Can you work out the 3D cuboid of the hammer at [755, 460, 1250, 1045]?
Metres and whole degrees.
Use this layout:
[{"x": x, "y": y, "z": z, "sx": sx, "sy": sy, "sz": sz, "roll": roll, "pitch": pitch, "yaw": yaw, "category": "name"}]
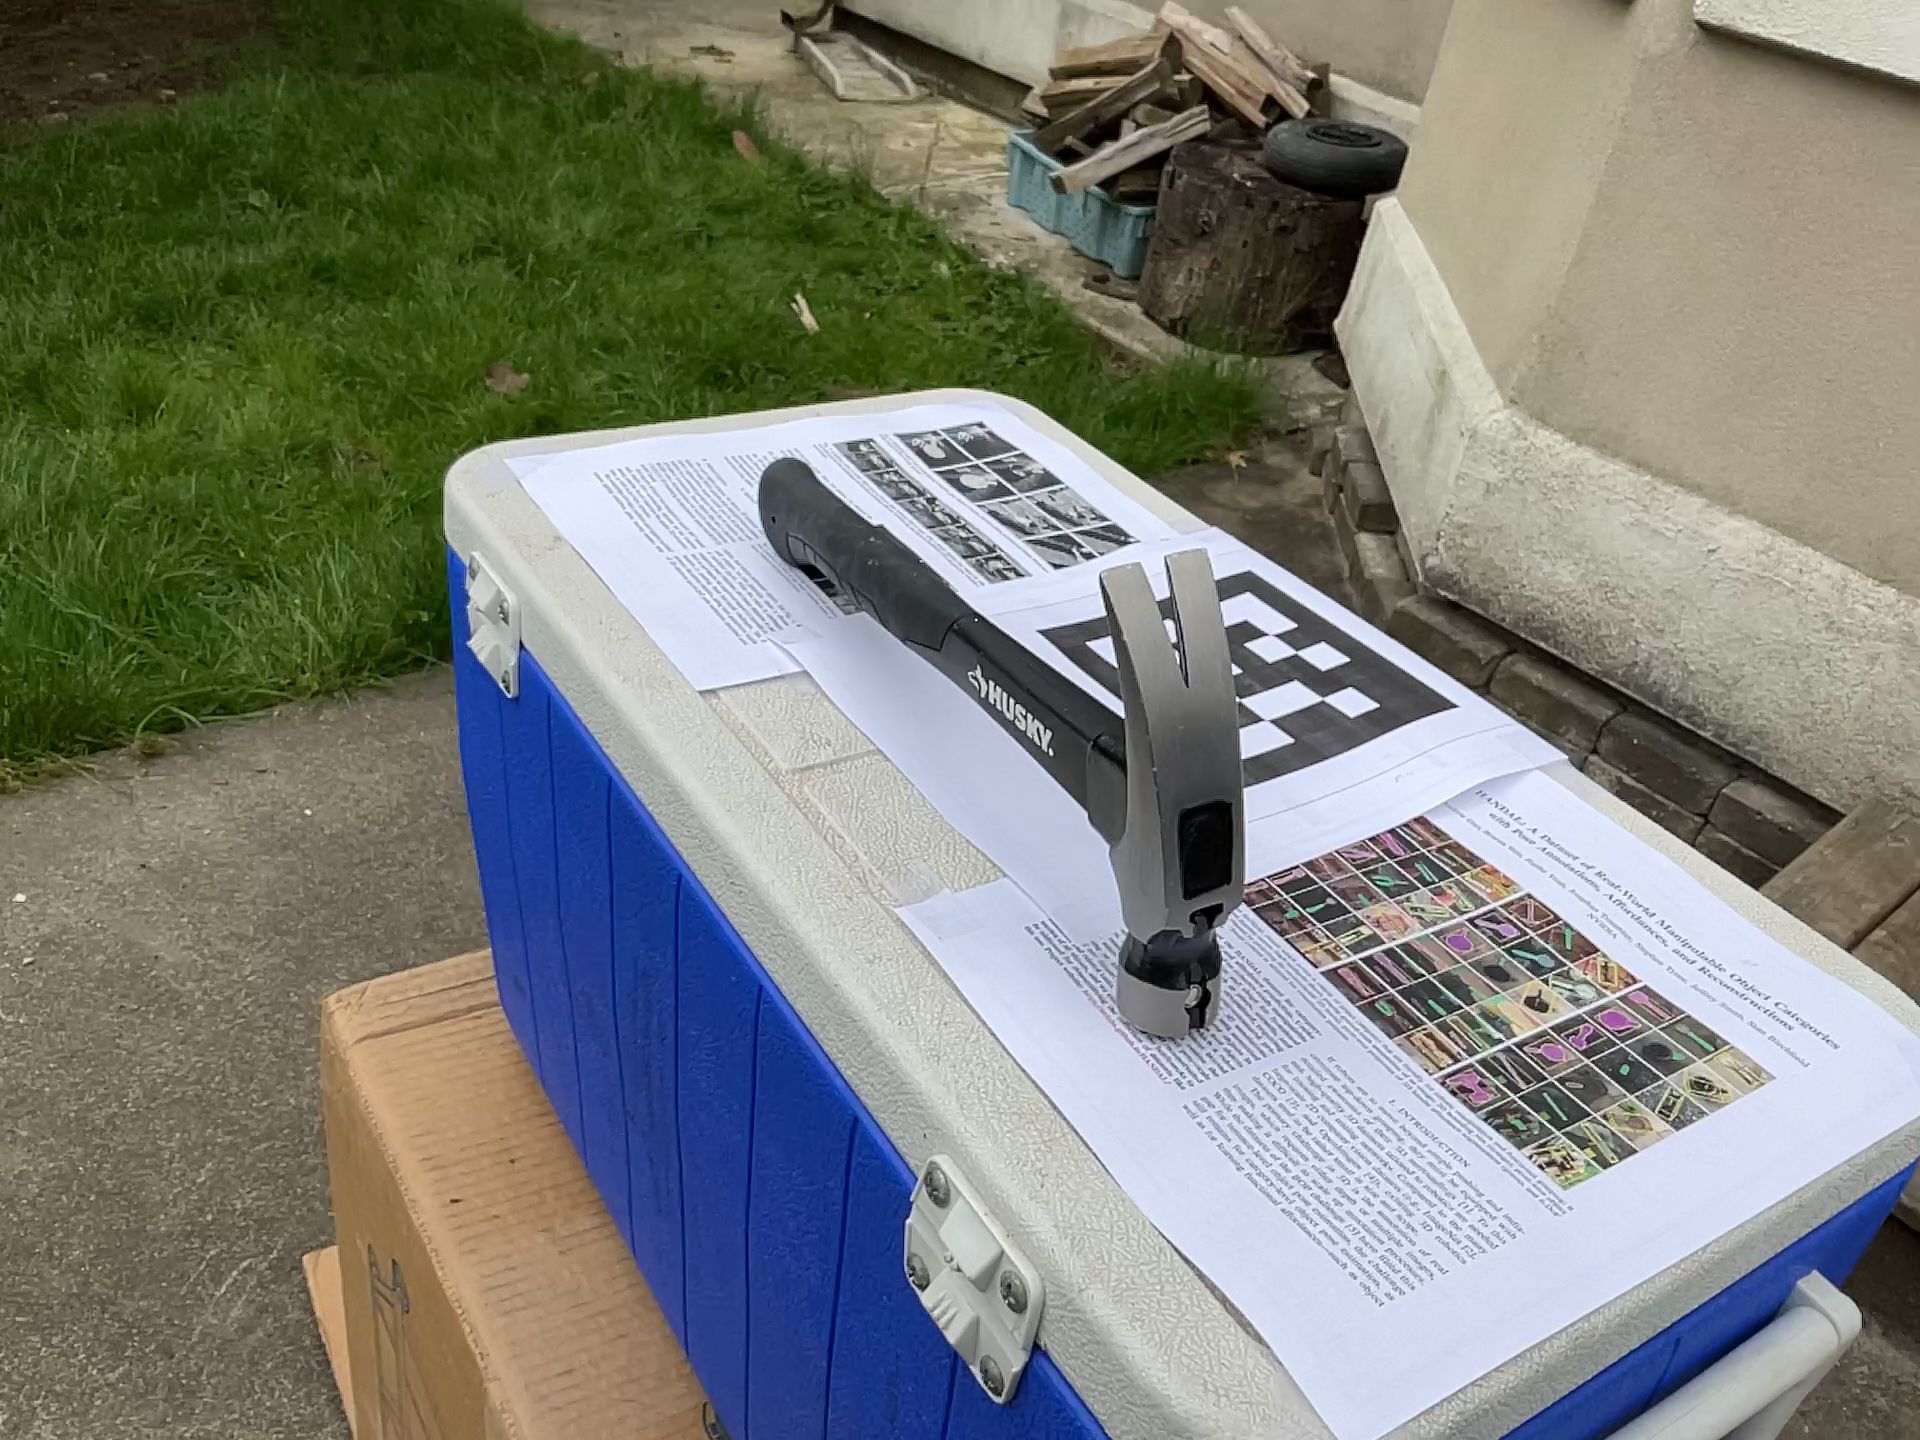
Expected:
[{"x": -0.004, "y": -0.035, "z": 0.578, "sx": 0.035, "sy": 0.146, "sz": 0.335, "roll": -14, "pitch": 31, "yaw": -23, "category": "hammer"}]
